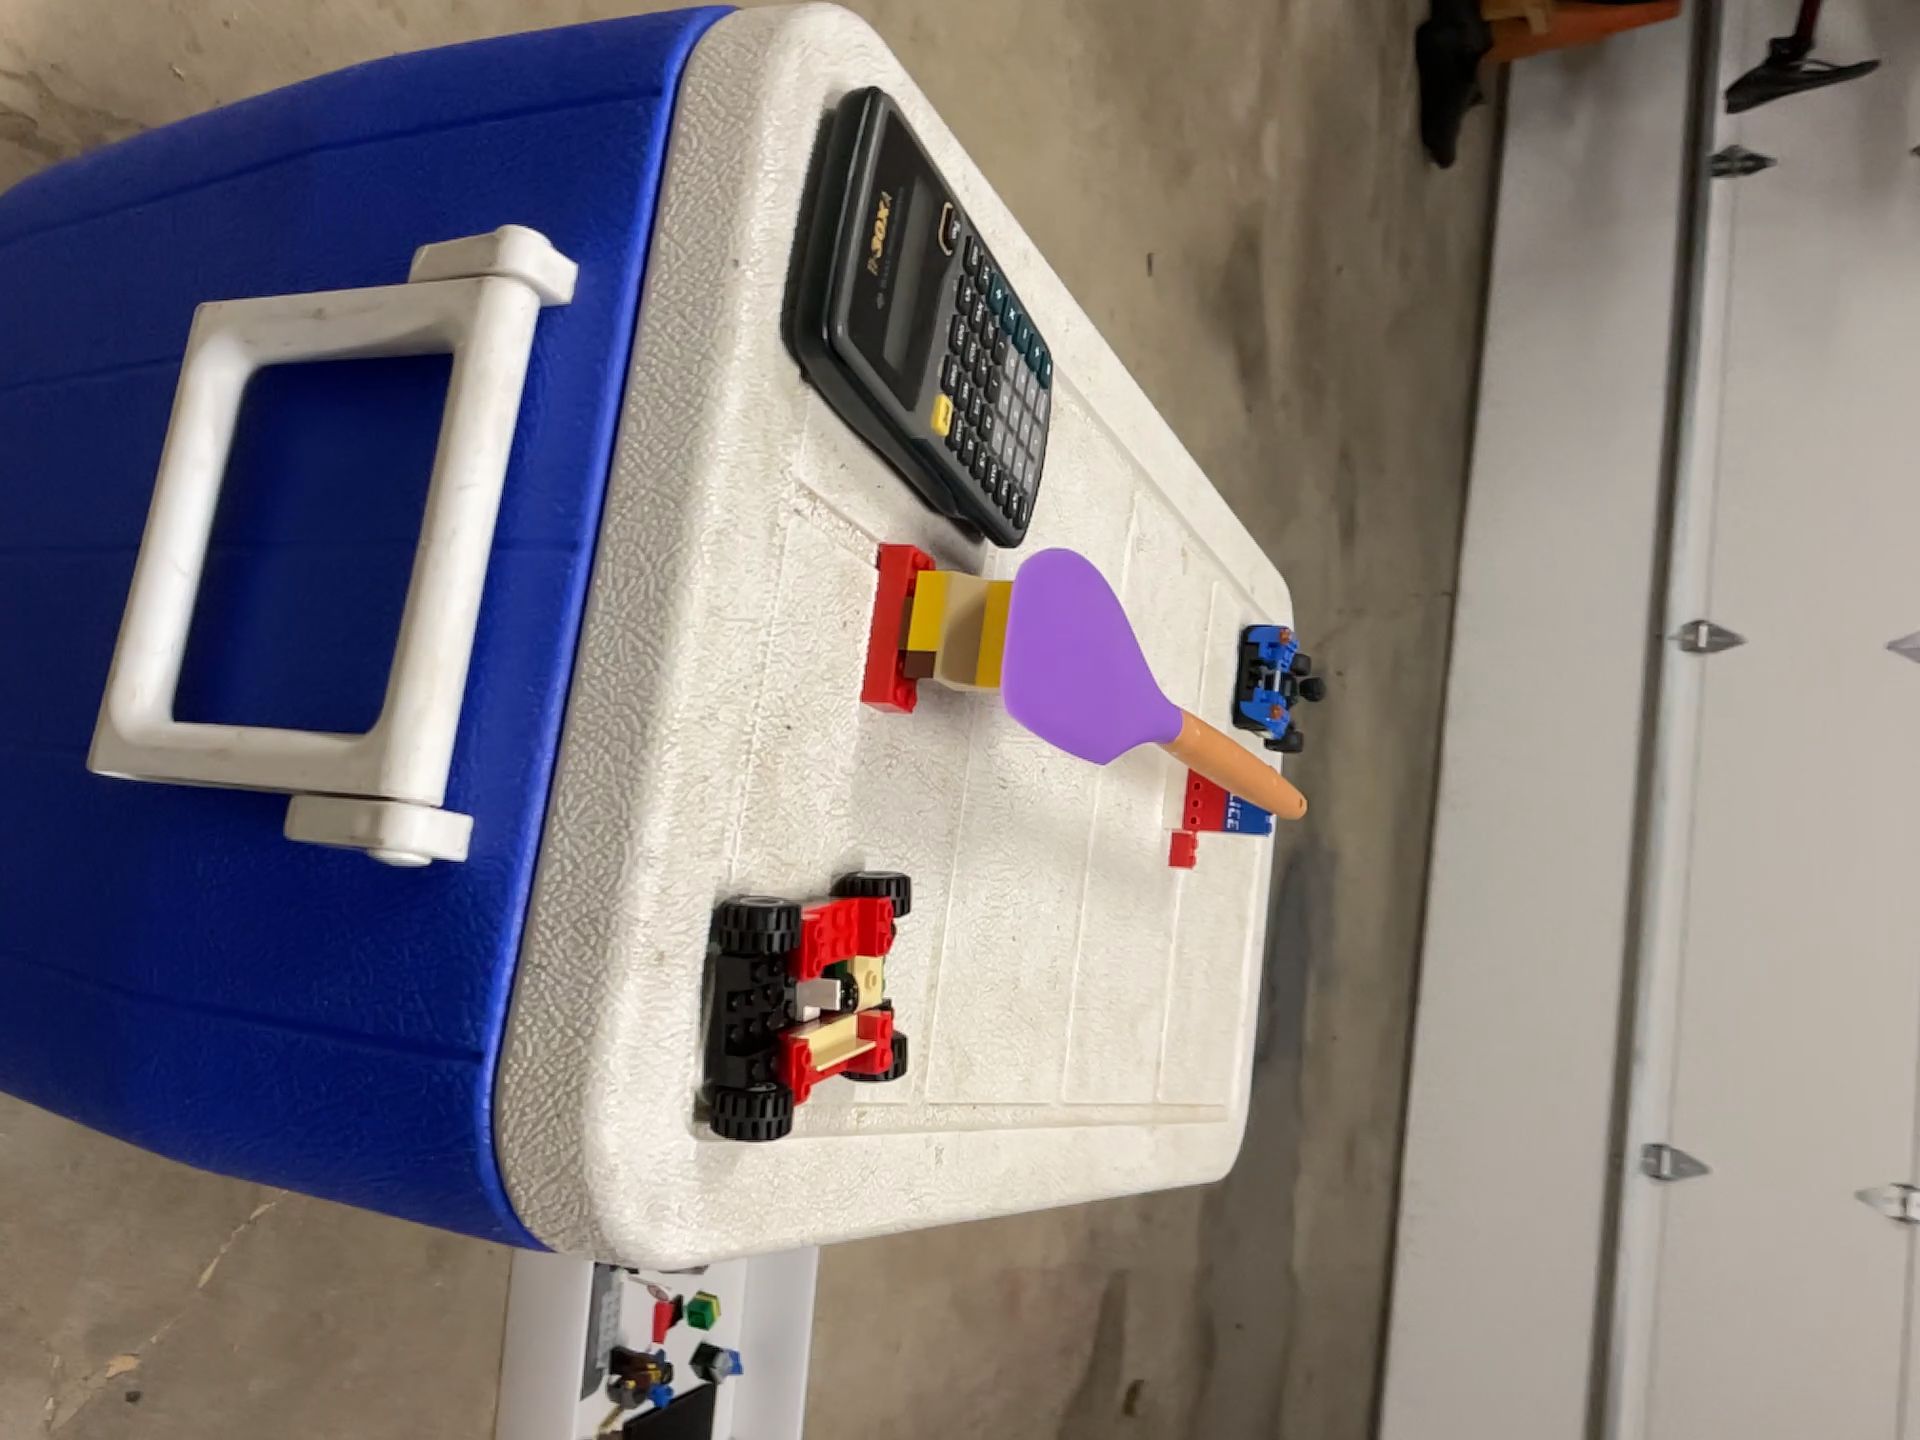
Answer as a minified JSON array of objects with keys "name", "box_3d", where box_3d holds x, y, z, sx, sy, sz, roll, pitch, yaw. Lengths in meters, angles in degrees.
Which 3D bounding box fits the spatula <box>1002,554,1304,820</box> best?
[{"name":"spatula","box_3d":[0.082,0.005,0.580,0.316,0.018,0.060,27,69,-62]}]
